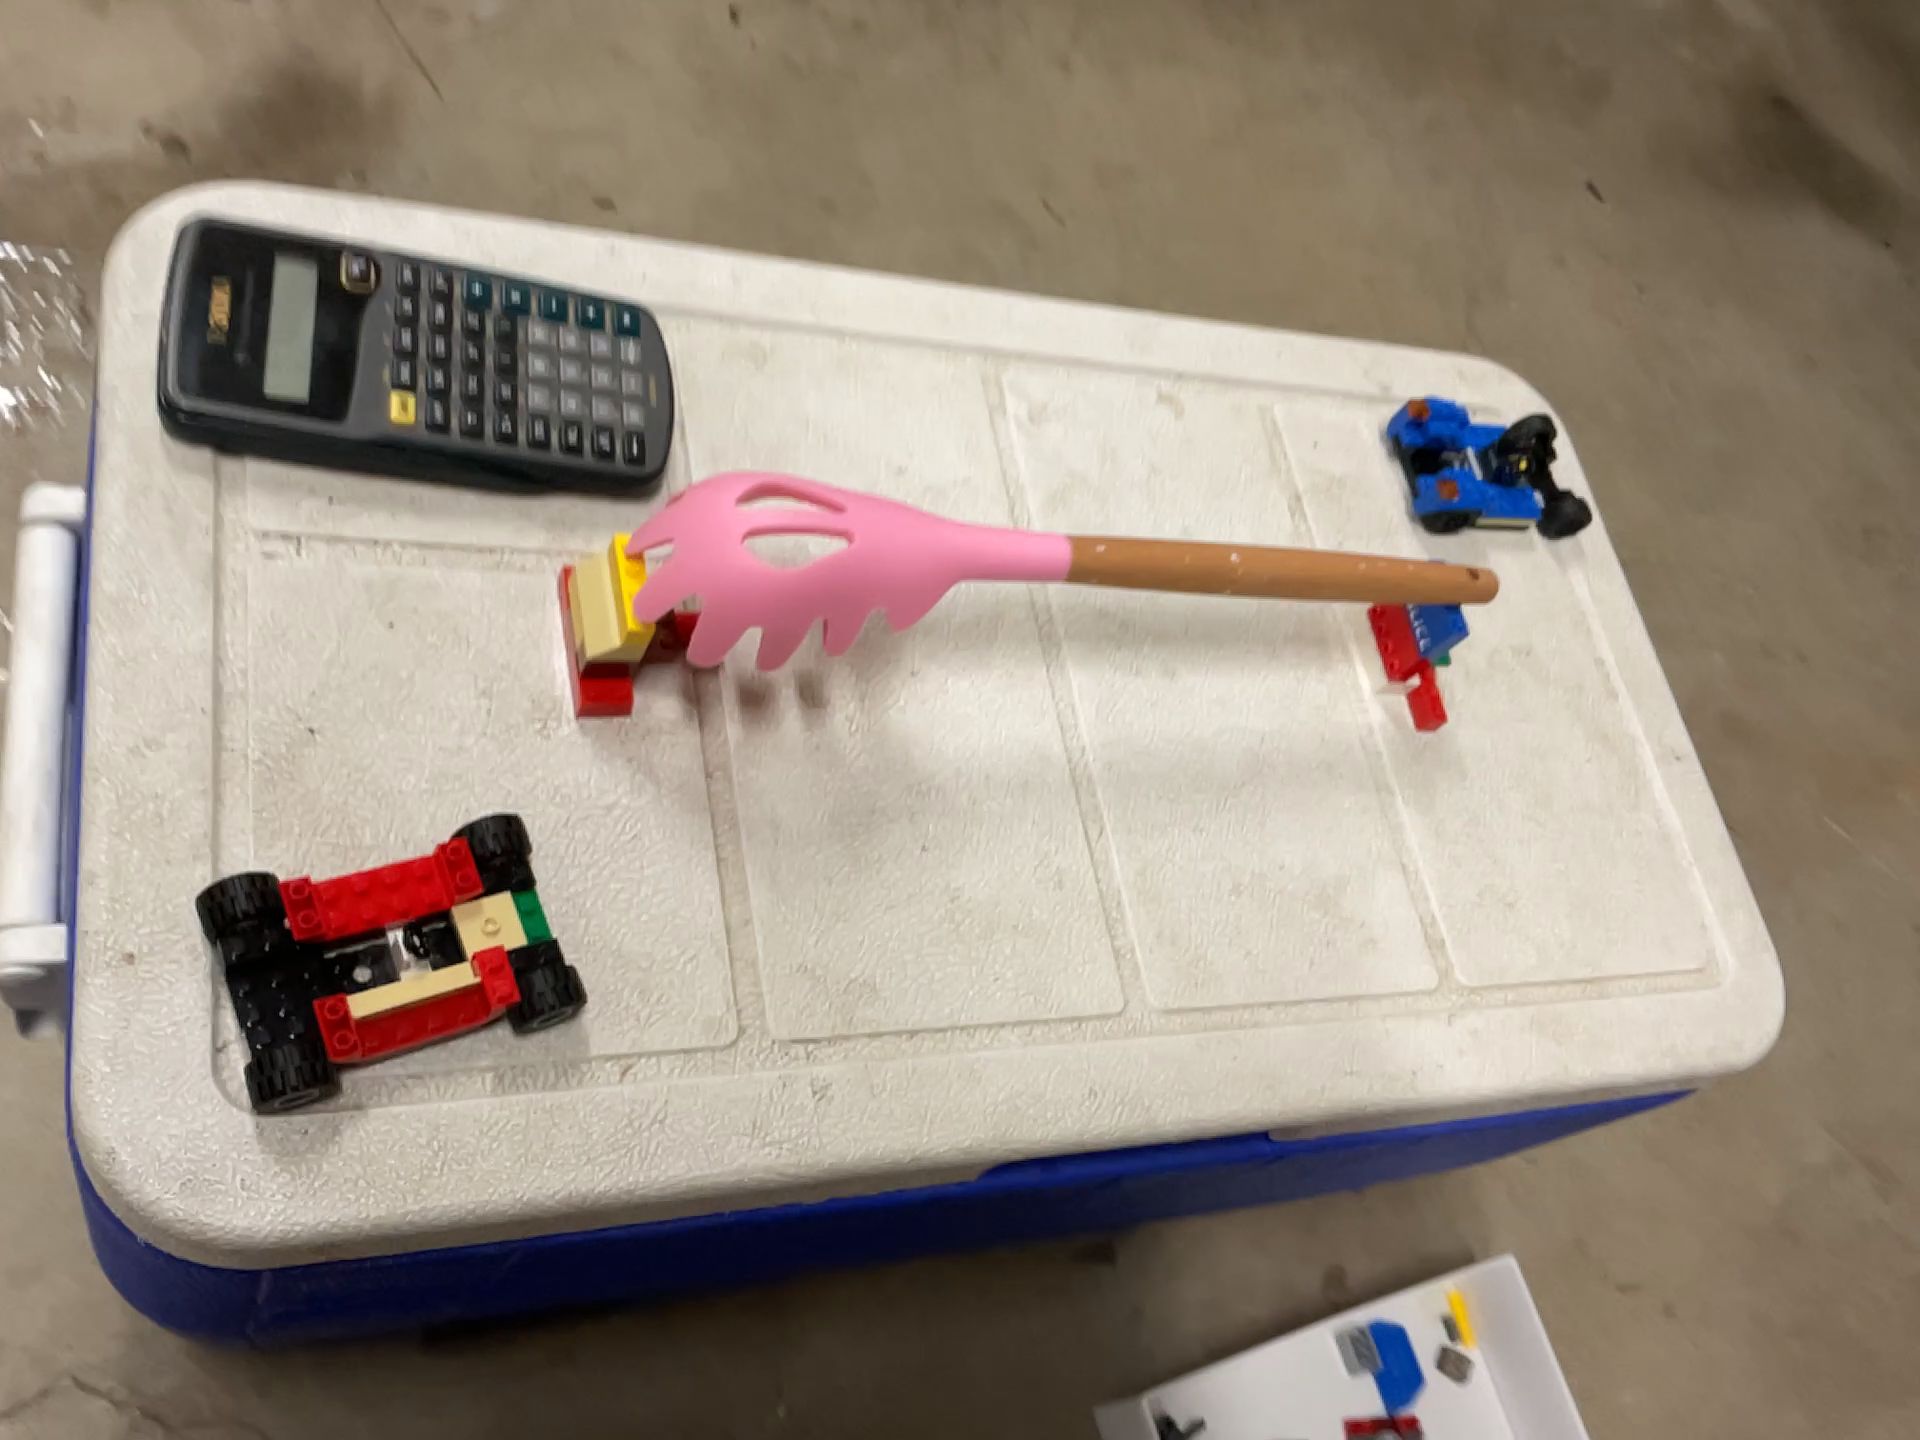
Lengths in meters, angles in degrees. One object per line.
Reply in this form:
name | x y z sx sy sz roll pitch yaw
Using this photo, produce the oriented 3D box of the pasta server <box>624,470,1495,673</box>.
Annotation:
pasta server | 0.051 -0.047 0.518 0.316 0.040 0.060 1 62 -29
